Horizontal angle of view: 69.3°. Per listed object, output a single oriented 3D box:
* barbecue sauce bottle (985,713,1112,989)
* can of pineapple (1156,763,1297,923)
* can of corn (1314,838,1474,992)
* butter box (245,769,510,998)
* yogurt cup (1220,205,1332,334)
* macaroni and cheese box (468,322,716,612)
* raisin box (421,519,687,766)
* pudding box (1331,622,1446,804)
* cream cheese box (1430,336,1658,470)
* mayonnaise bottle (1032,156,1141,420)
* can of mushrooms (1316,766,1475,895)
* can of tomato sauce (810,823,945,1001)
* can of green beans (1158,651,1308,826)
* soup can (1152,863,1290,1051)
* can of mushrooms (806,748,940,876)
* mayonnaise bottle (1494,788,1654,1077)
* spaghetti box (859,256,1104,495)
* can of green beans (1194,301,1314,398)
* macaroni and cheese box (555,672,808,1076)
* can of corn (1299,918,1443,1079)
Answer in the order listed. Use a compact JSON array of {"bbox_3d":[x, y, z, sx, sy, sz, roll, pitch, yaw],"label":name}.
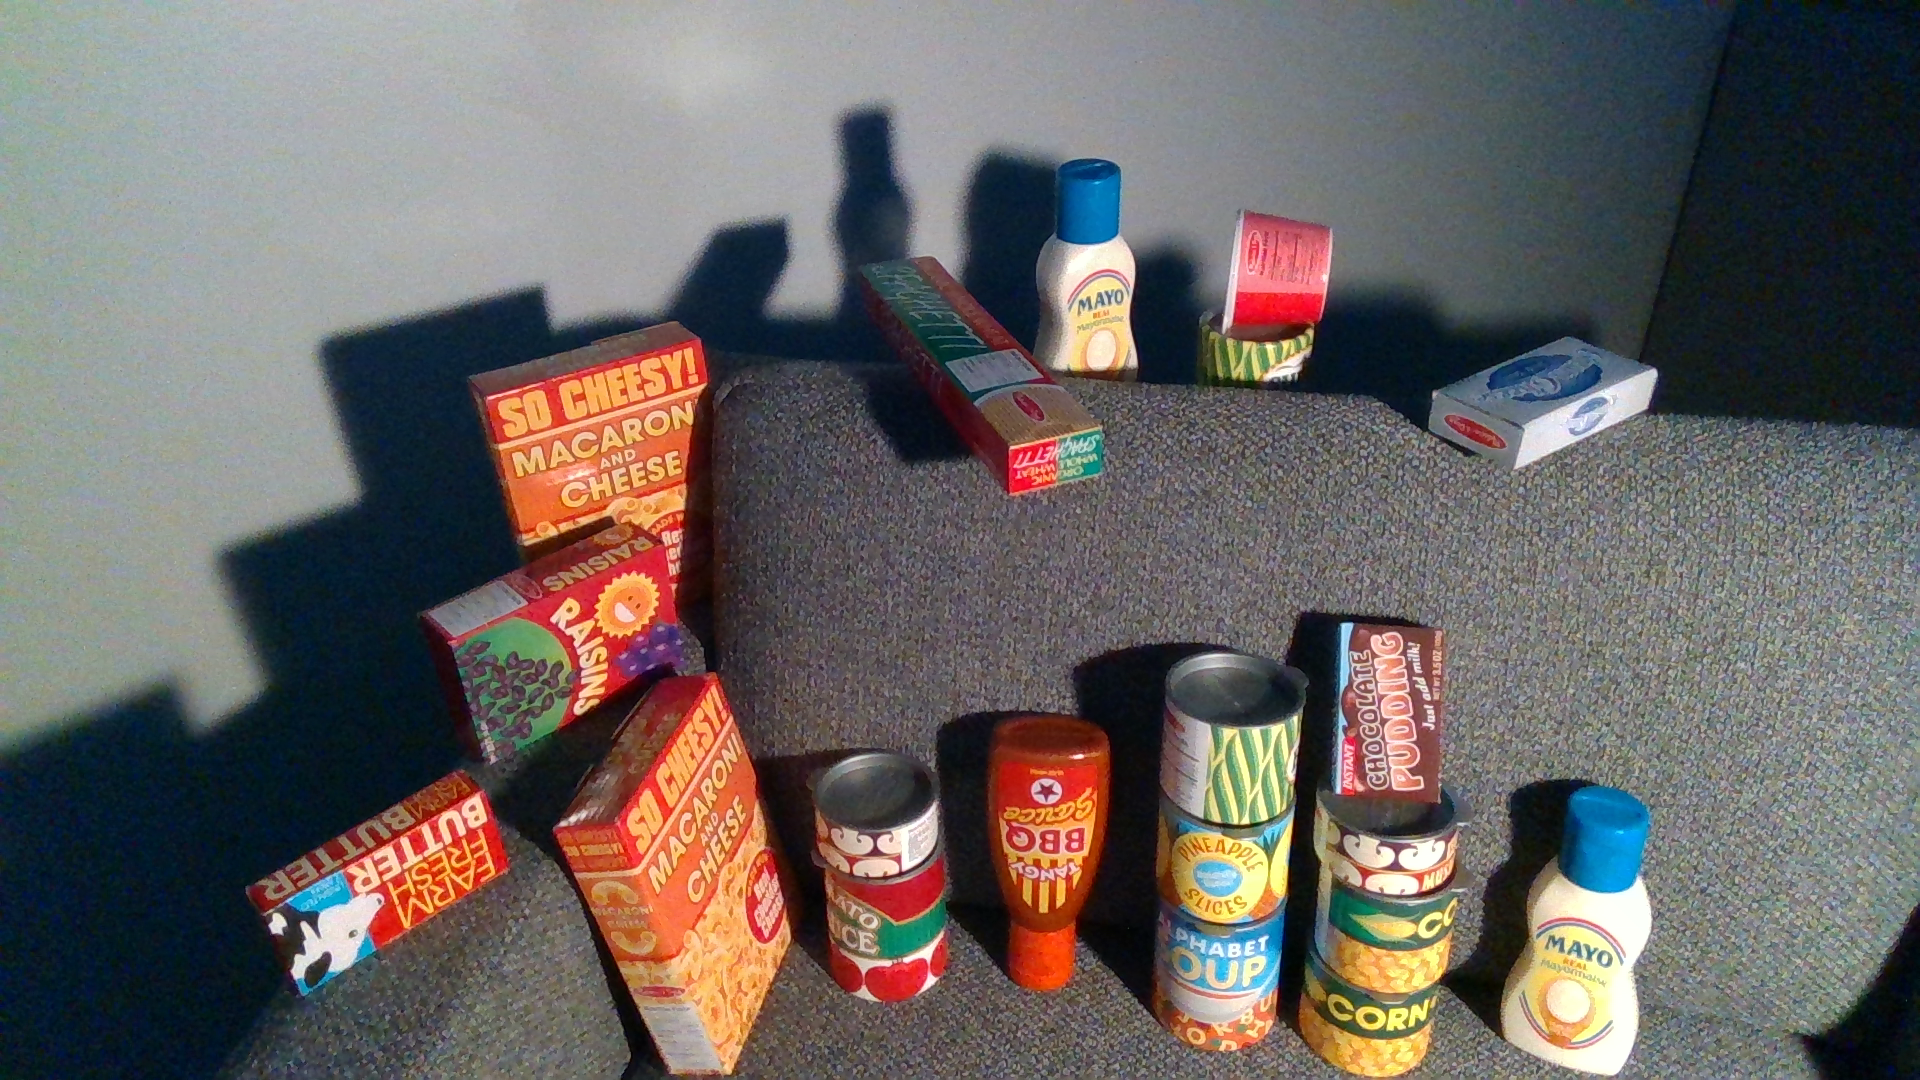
[{"bbox_3d":[0.045,0.165,0.729,0.065,0.148,0.044,2,22,4],"label":"barbecue sauce bottle"},{"bbox_3d":[0.131,0.147,0.688,0.071,0.057,0.071,-1,27,1],"label":"can of pineapple"},{"bbox_3d":[0.211,0.178,0.681,0.071,0.058,0.071,-2,27,1],"label":"can of corn"},{"bbox_3d":[-0.258,0.152,0.623,0.104,0.052,0.024,-31,40,-34],"label":"butter box"},{"bbox_3d":[0.178,-0.151,0.781,0.054,0.072,0.072,7,1,9],"label":"yogurt cup"},{"bbox_3d":[-0.199,-0.029,0.798,0.124,0.165,0.040,-21,35,-27],"label":"macaroni and cheese box"},{"bbox_3d":[-0.212,0.052,0.741,0.124,0.085,0.040,-28,41,-33],"label":"raisin box"},{"bbox_3d":[0.205,0.082,0.666,0.050,0.084,0.030,3,-8,13],"label":"pudding box"},{"bbox_3d":[0.286,-0.069,0.681,0.104,0.024,0.053,-21,38,-27],"label":"cream cheese box"},{"bbox_3d":[0.071,-0.141,0.790,0.065,0.147,0.041,-15,36,-17],"label":"mayonnaise bottle"},{"bbox_3d":[0.207,0.137,0.664,0.071,0.033,0.071,-2,26,1],"label":"can of mushrooms"},{"bbox_3d":[-0.043,0.195,0.746,0.071,0.082,0.071,0,26,0],"label":"can of tomato sauce"},{"bbox_3d":[0.129,0.095,0.666,0.071,0.057,0.071,-1,27,1],"label":"can of green beans"},{"bbox_3d":[0.132,0.211,0.715,0.071,0.083,0.071,-1,26,1],"label":"soup can"},{"bbox_3d":[-0.046,0.141,0.726,0.071,0.033,0.071,-1,30,1],"label":"can of mushrooms"},{"bbox_3d":[0.304,0.191,0.680,0.065,0.147,0.041,13,29,26],"label":"mayonnaise bottle"},{"bbox_3d":[0.004,-0.096,0.736,0.050,0.028,0.251,-12,33,-15],"label":"spaghetti box"},{"bbox_3d":[0.170,-0.102,0.809,0.071,0.057,0.071,-2,33,1],"label":"can of green beans"},{"bbox_3d":[-0.140,0.173,0.724,0.040,0.165,0.124,-7,27,18],"label":"macaroni and cheese box"},{"bbox_3d":[0.208,0.230,0.706,0.071,0.058,0.071,-1,26,0],"label":"can of corn"}]
